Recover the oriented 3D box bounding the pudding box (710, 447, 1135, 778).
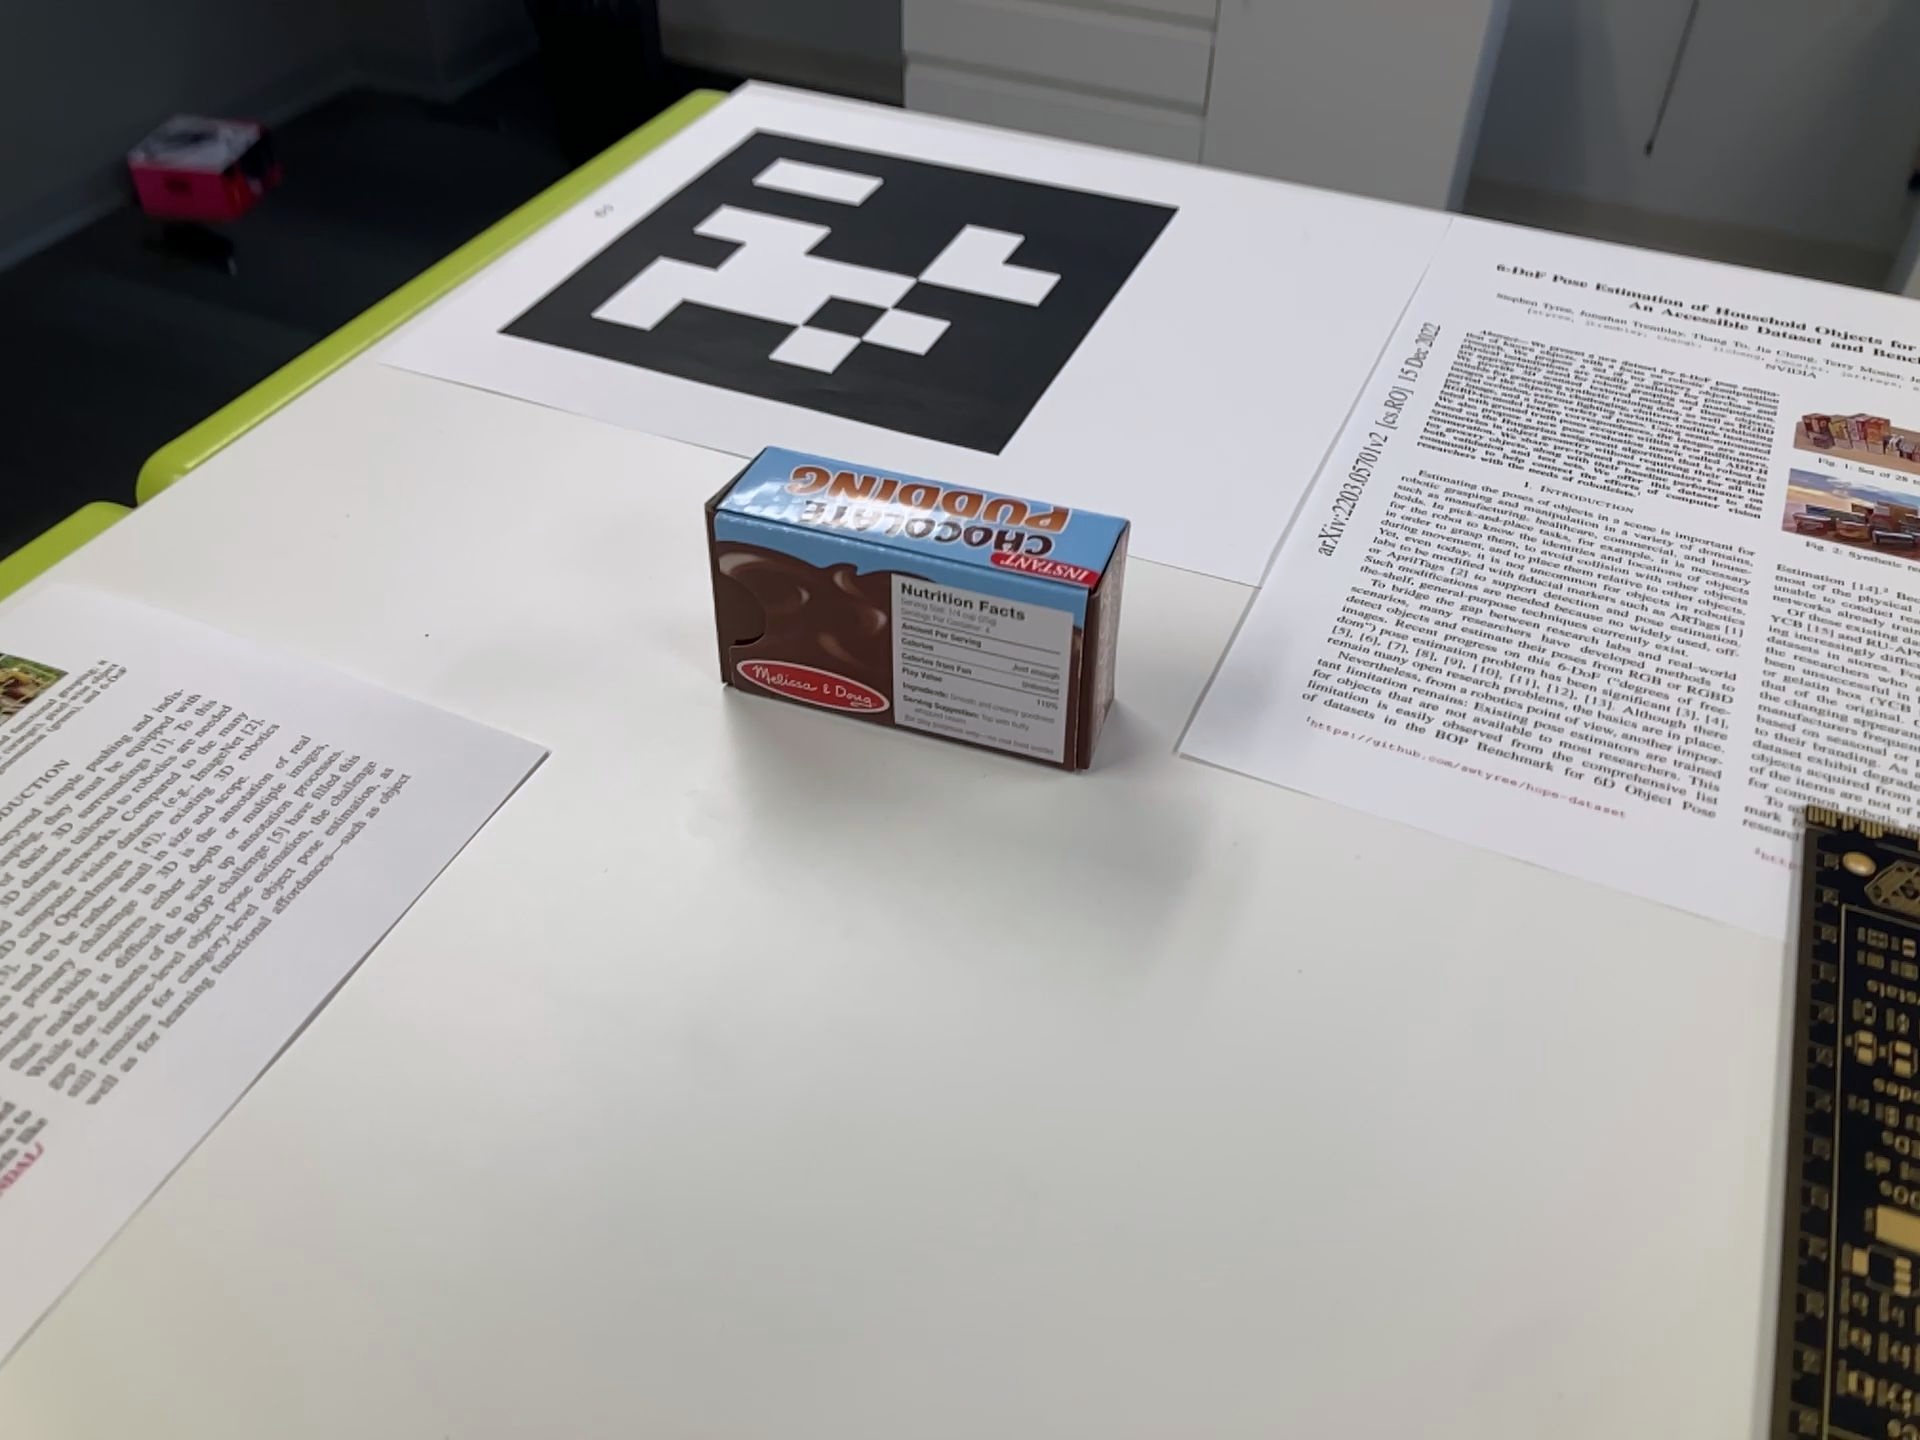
[{"bbox_3d":[-0.008,-0.024,0.336,0.083,0.049,0.030,13,43,15],"label":"pudding box"}]
